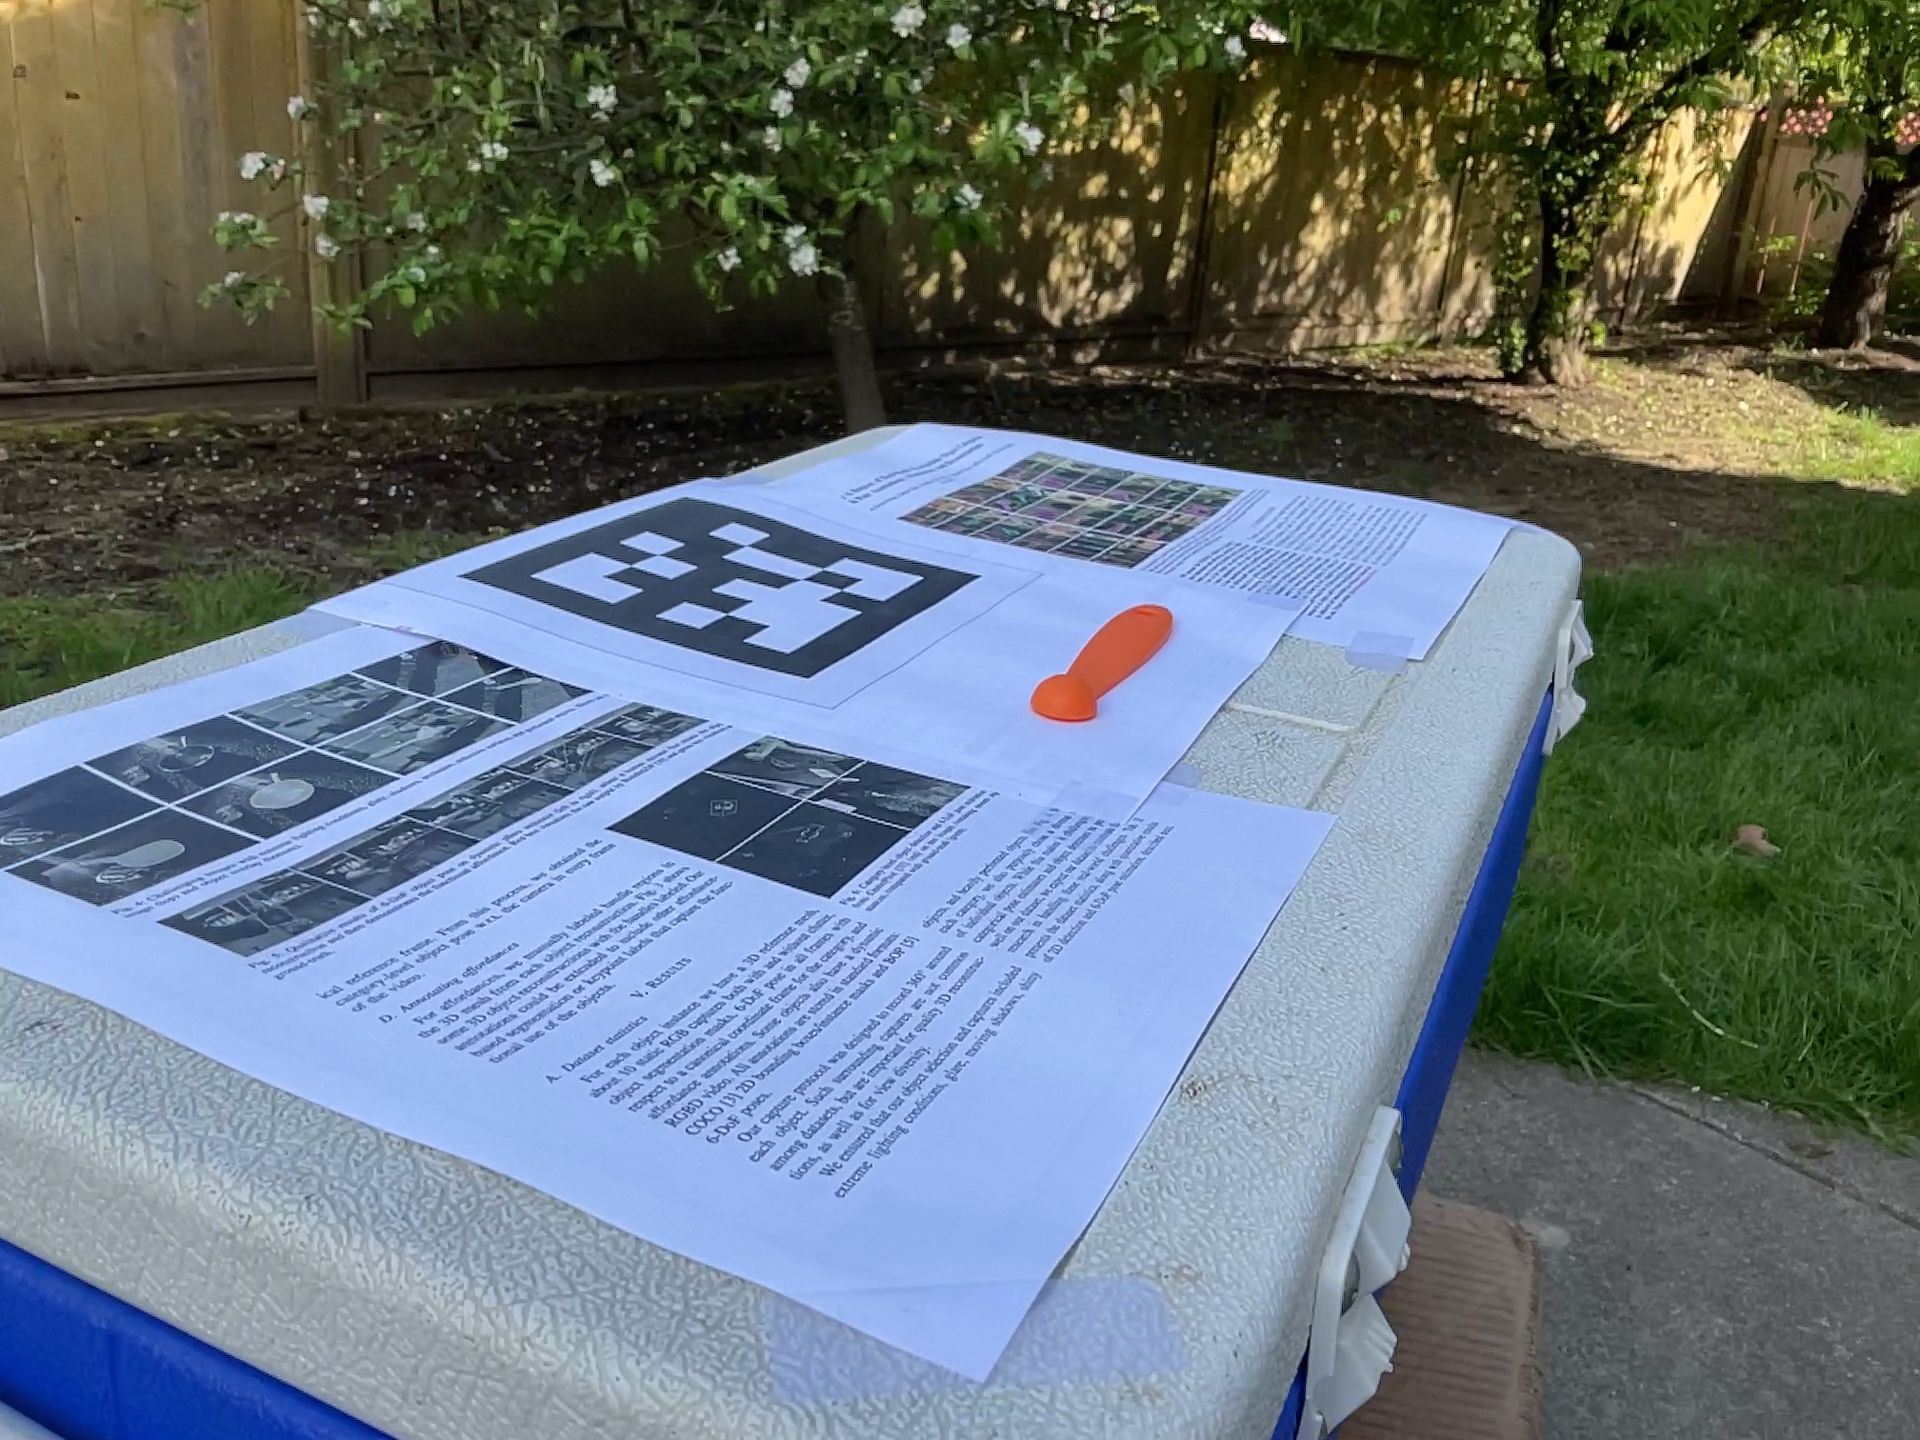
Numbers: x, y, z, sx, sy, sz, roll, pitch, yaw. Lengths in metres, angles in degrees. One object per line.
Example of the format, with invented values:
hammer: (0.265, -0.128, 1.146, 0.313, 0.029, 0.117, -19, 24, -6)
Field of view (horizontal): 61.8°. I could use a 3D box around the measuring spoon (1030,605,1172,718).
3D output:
measuring spoon: (0.047, -0.023, 0.501, 0.021, 0.011, 0.117, 17, 23, 16)
